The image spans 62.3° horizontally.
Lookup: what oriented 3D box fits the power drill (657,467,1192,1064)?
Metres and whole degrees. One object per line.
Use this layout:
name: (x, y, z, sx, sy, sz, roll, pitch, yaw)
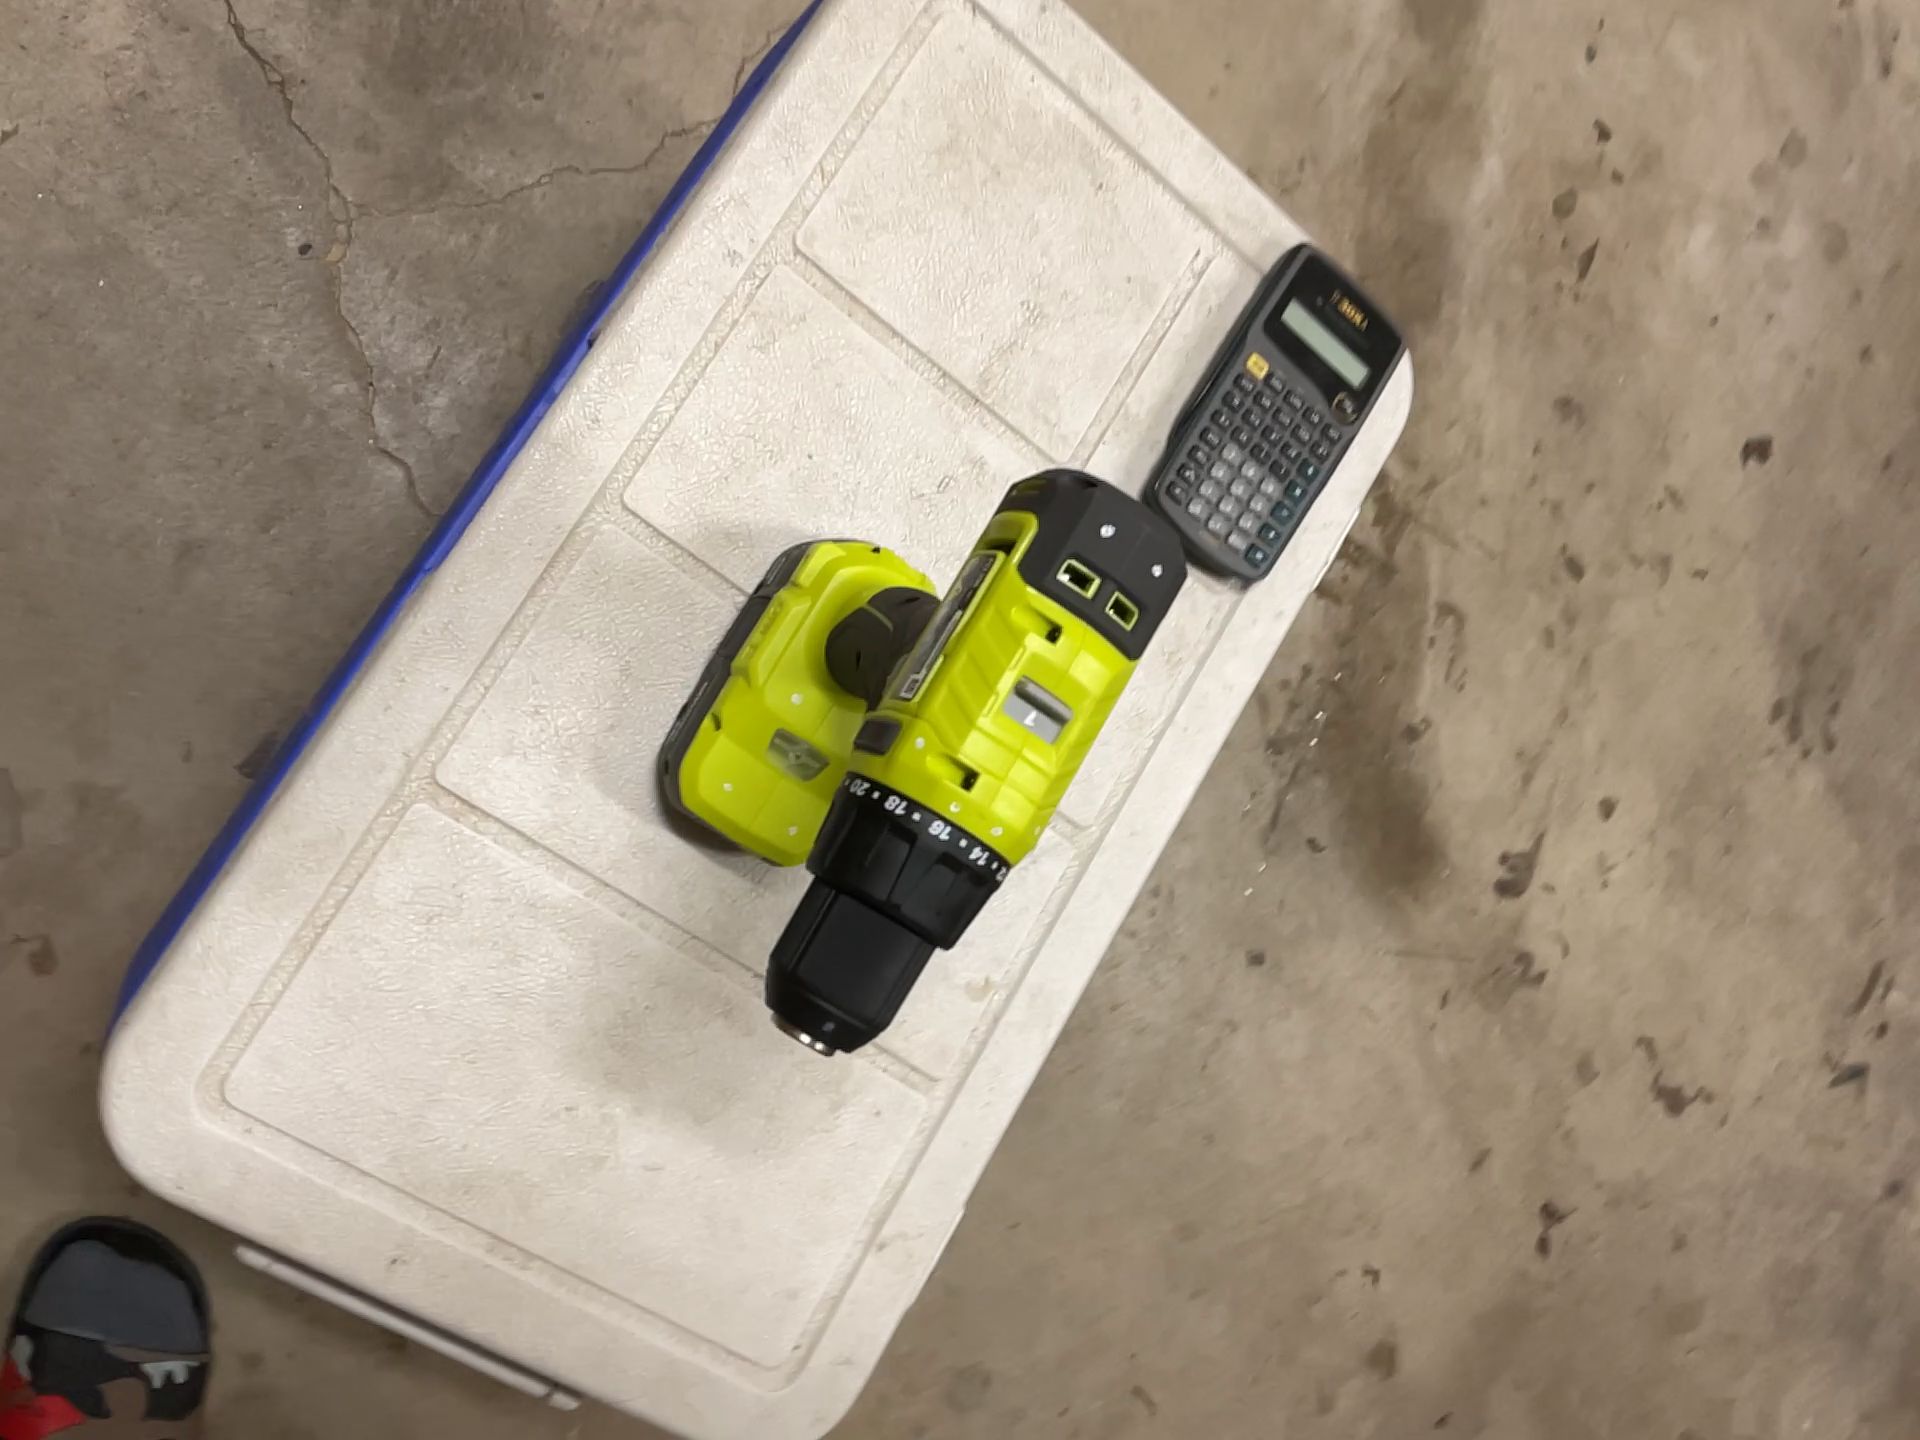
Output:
power drill: (-0.032, 0.010, 0.558, 0.080, 0.228, 0.191, 34, 80, -22)
